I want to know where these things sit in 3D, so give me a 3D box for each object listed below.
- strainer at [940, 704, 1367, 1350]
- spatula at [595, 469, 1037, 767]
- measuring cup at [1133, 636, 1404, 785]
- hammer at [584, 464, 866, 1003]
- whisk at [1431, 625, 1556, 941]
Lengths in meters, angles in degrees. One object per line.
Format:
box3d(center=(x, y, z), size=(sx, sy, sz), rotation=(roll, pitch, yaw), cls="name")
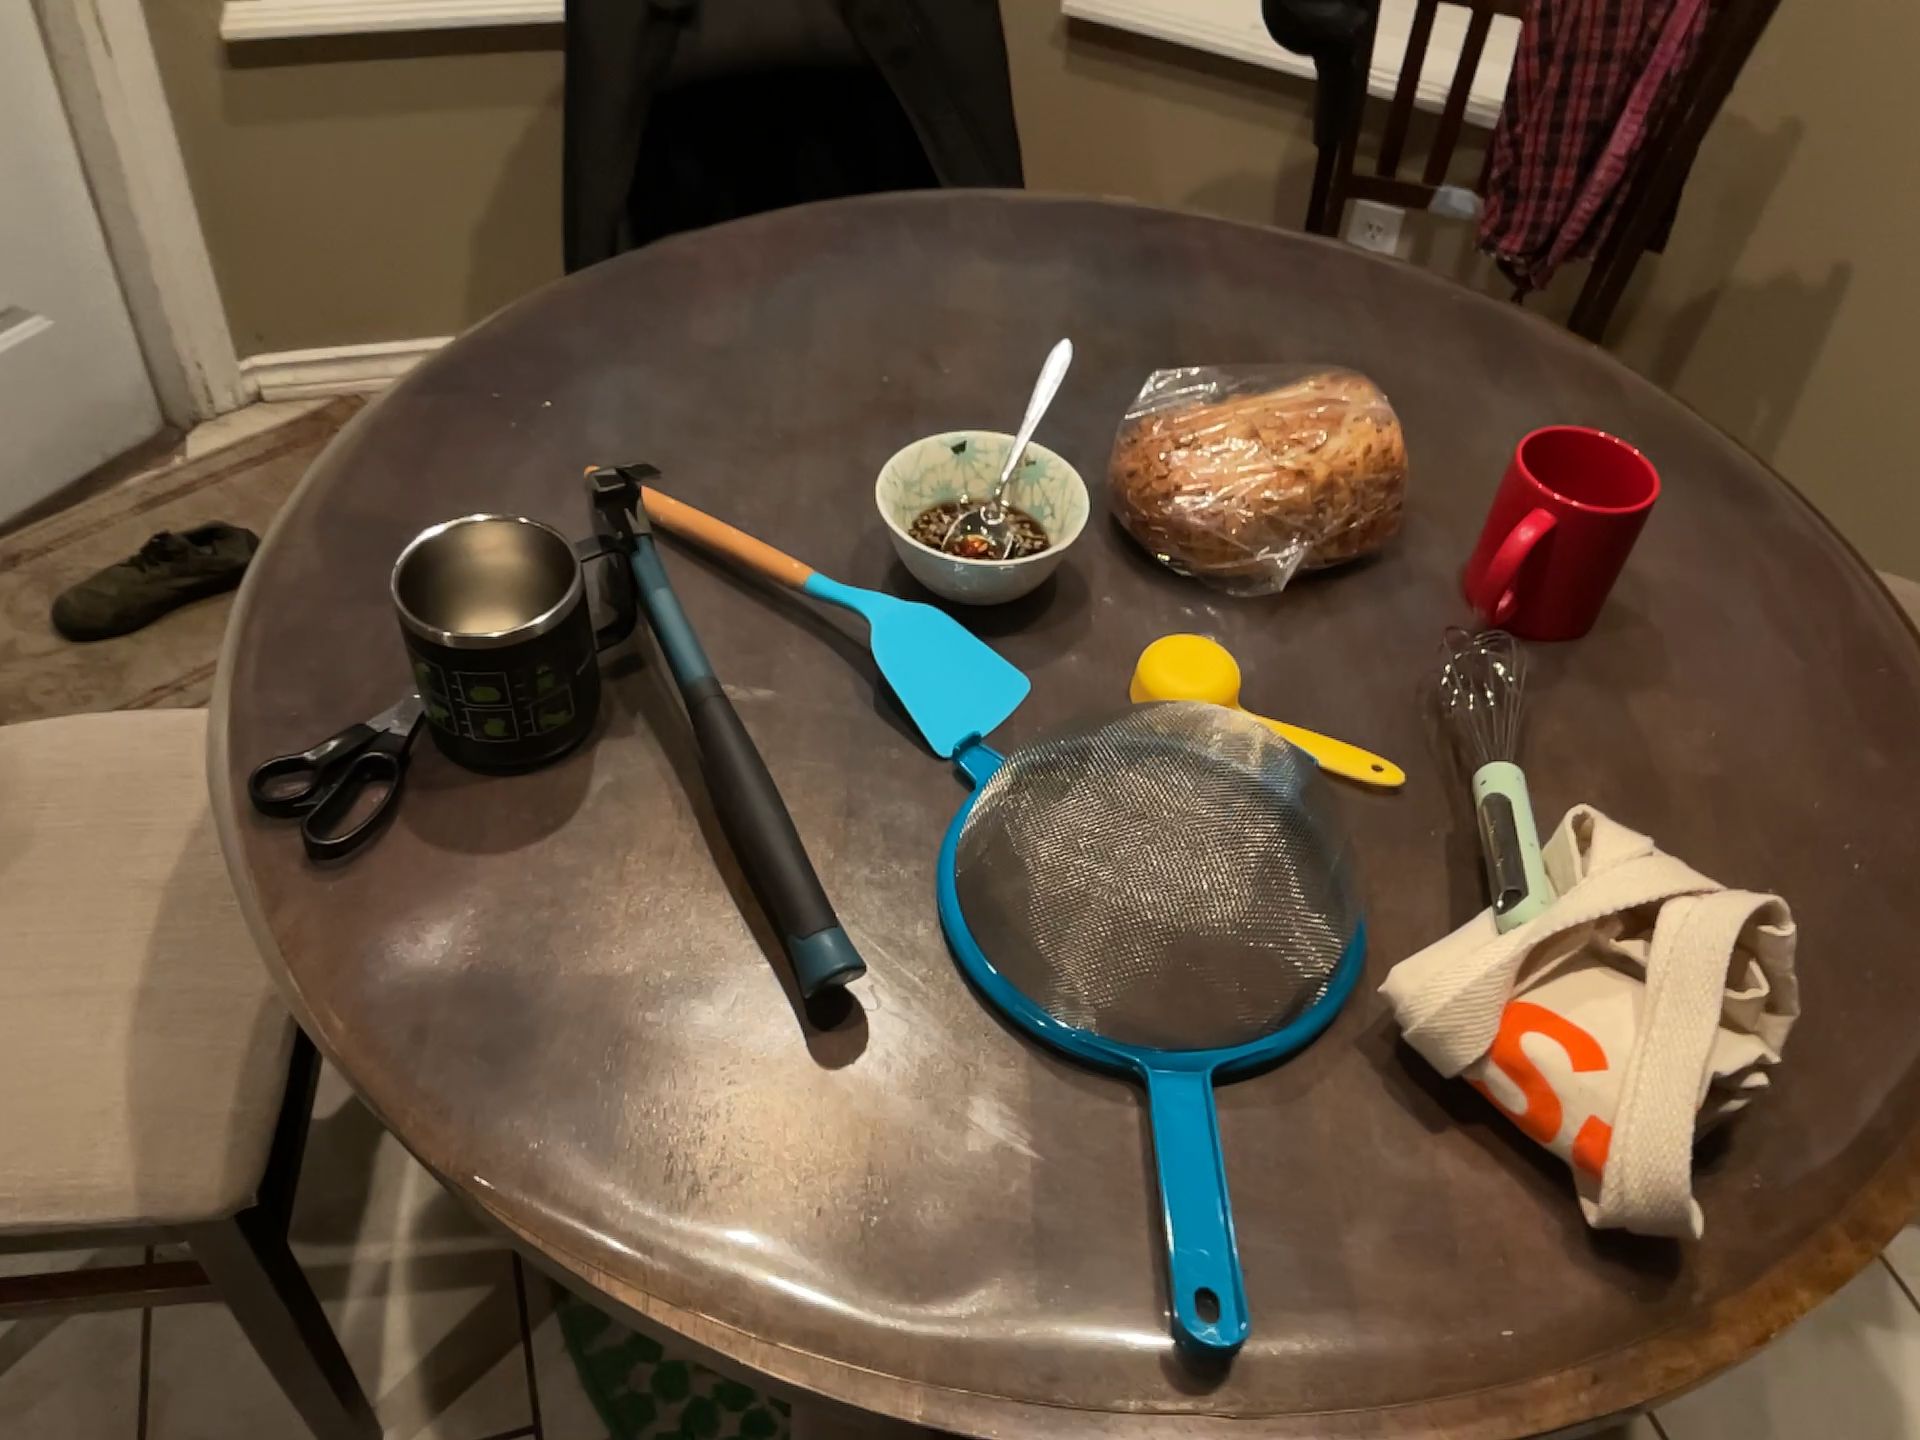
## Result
box3d(center=(0.099, 0.100, 0.718), size=(0.211, 0.095, 0.341), rotation=(1, 41, -3), cls="strainer")
box3d(center=(-0.102, -0.076, 0.928), size=(0.317, 0.044, 0.082), rotation=(29, 50, 27), cls="spatula")
box3d(center=(0.169, -0.004, 0.873), size=(0.156, 0.029, 0.062), rotation=(22, 48, 18), cls="measuring cup")
box3d(center=(-0.126, 0.000, 0.804), size=(0.033, 0.128, 0.331), rotation=(-19, 58, -19), cls="hammer")
box3d(center=(0.275, 0.025, 0.820), size=(0.059, 0.057, 0.246), rotation=(34, 34, -15), cls="whisk")
